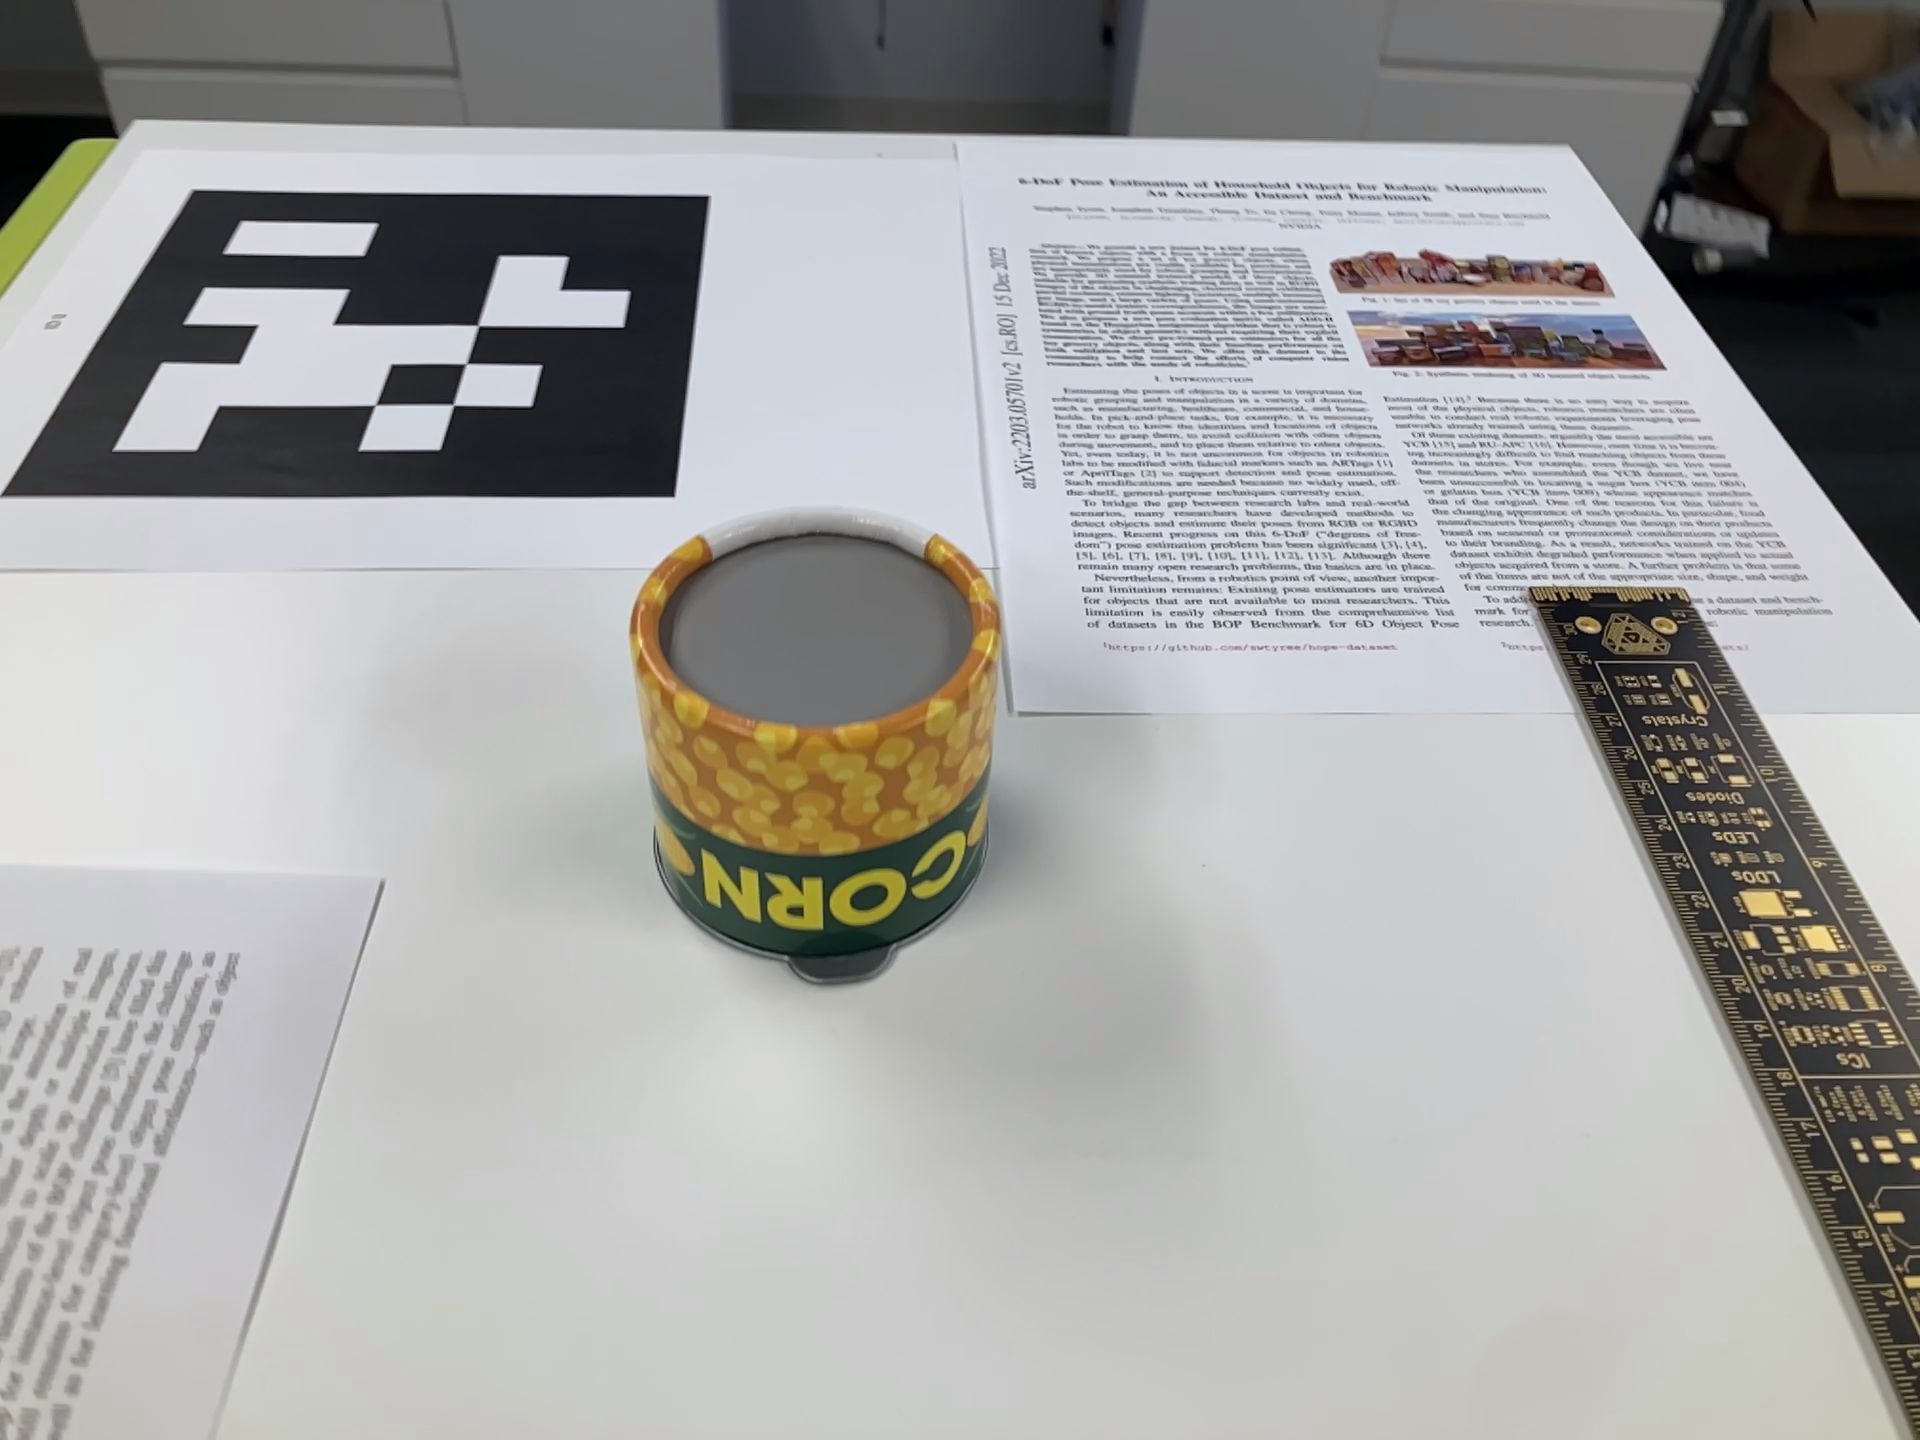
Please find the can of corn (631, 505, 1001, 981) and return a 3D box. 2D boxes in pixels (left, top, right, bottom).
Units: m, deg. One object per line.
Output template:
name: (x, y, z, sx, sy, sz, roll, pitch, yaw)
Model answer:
can of corn: (-0.026, 0.003, 0.298, 0.071, 0.058, 0.071, 2, 44, -2)
